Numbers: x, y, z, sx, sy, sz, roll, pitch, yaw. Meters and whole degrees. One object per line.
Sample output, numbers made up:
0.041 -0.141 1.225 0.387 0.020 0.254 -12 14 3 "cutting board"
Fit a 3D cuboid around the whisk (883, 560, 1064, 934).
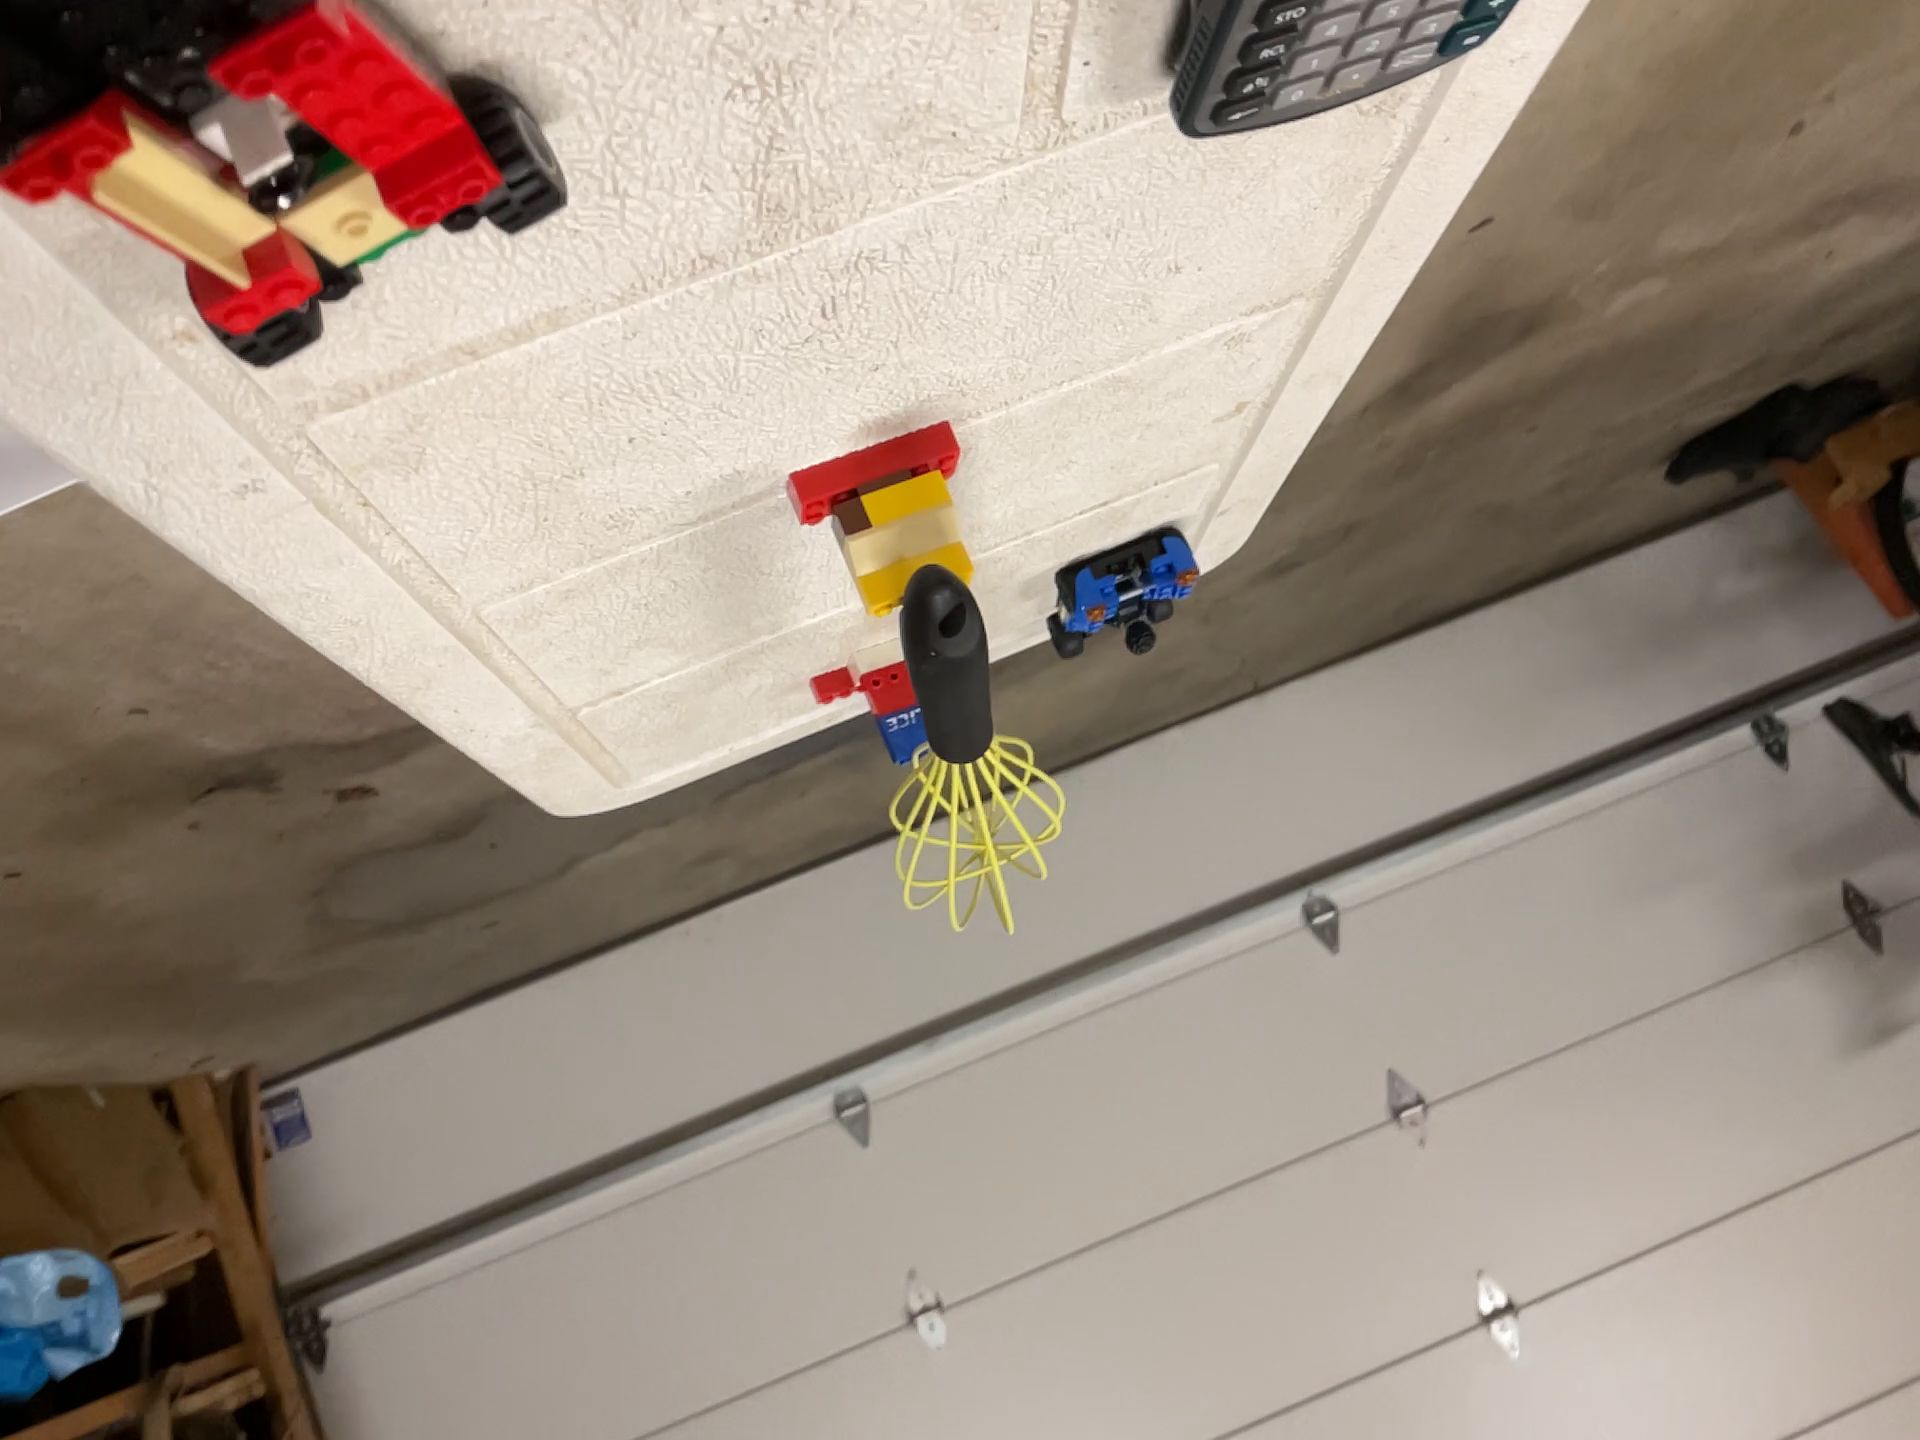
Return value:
0.000 0.013 0.554 0.311 0.067 0.080 80 31 -71 "whisk"
